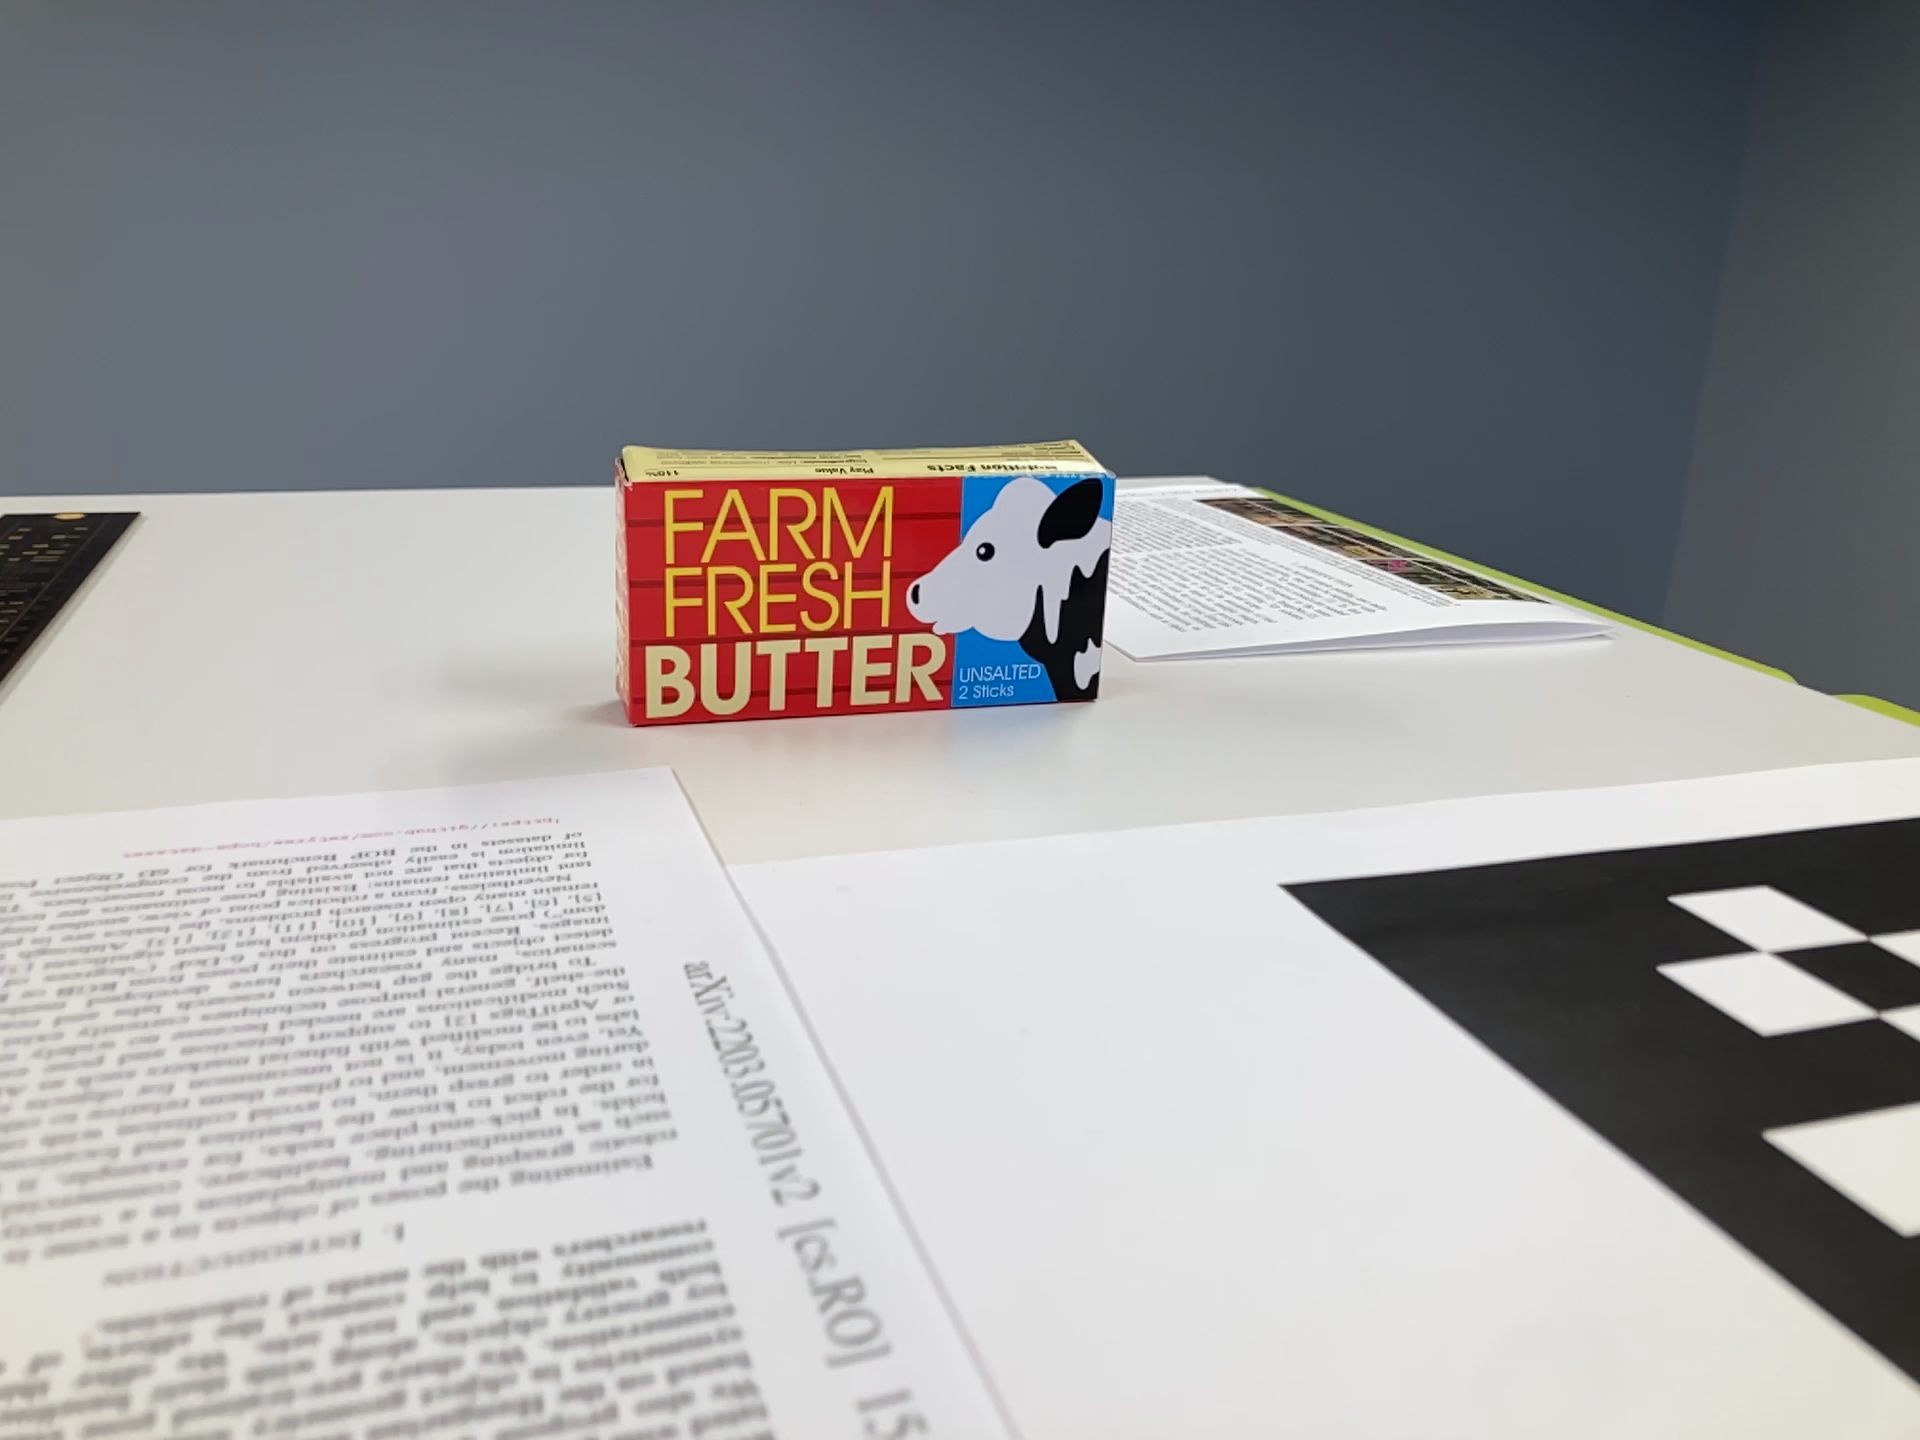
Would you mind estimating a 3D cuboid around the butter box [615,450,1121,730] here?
[{"bbox_3d":[-0.020,-0.028,0.333,0.103,0.053,0.024,-4,22,-18],"label":"butter box"}]
